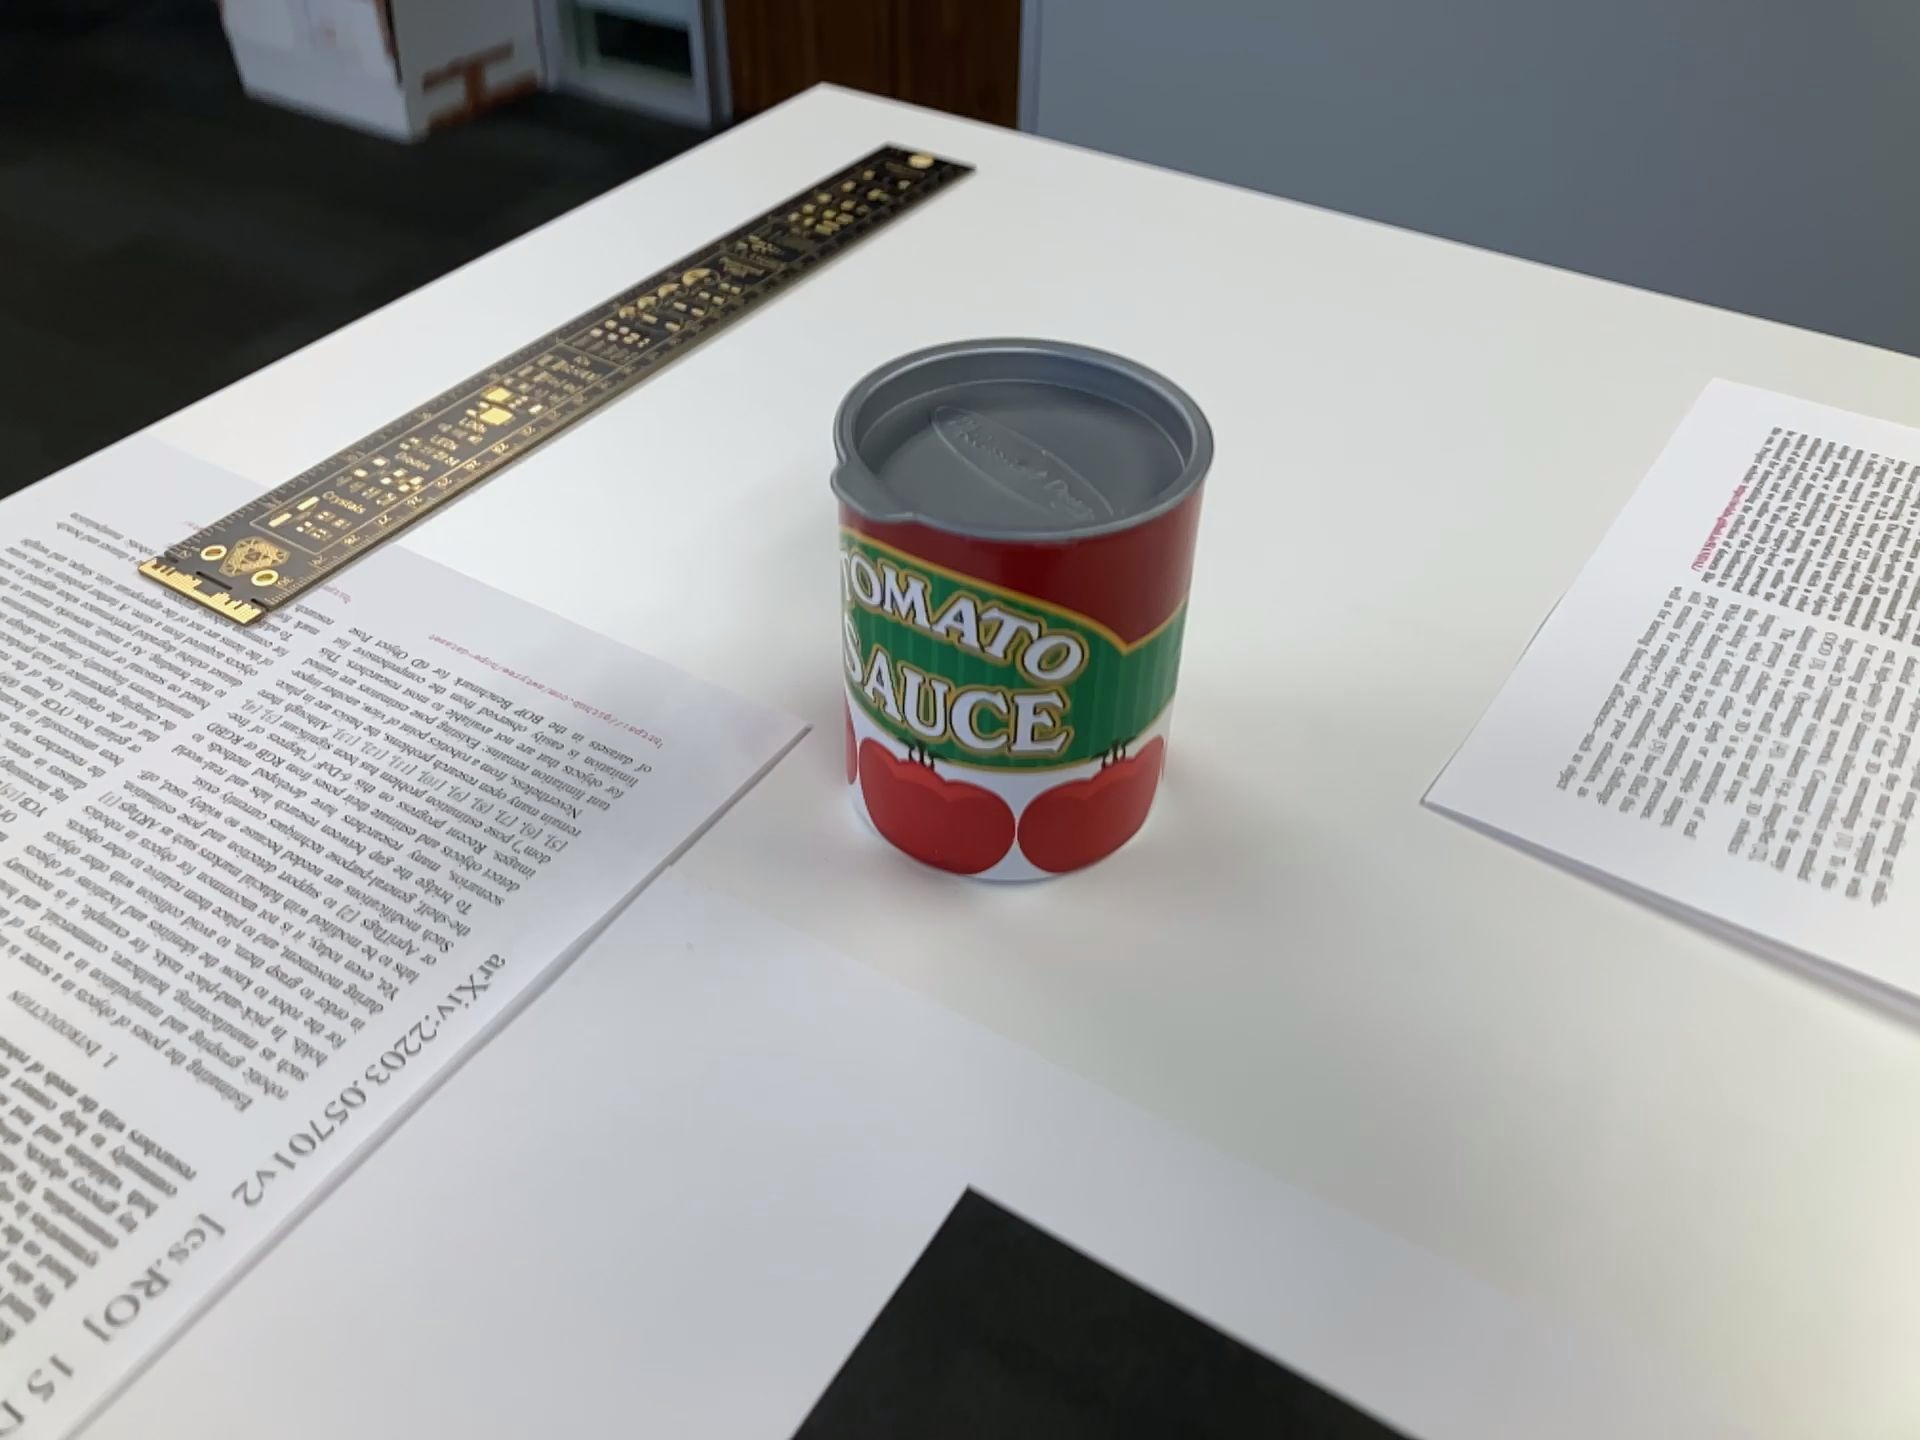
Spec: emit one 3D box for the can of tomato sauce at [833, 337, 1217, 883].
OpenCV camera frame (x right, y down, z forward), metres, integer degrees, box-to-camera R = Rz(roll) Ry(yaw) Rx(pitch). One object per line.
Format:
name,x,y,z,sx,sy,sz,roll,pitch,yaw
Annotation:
can of tomato sauce,0.009,-0.019,0.302,0.071,0.083,0.071,1,41,-1
